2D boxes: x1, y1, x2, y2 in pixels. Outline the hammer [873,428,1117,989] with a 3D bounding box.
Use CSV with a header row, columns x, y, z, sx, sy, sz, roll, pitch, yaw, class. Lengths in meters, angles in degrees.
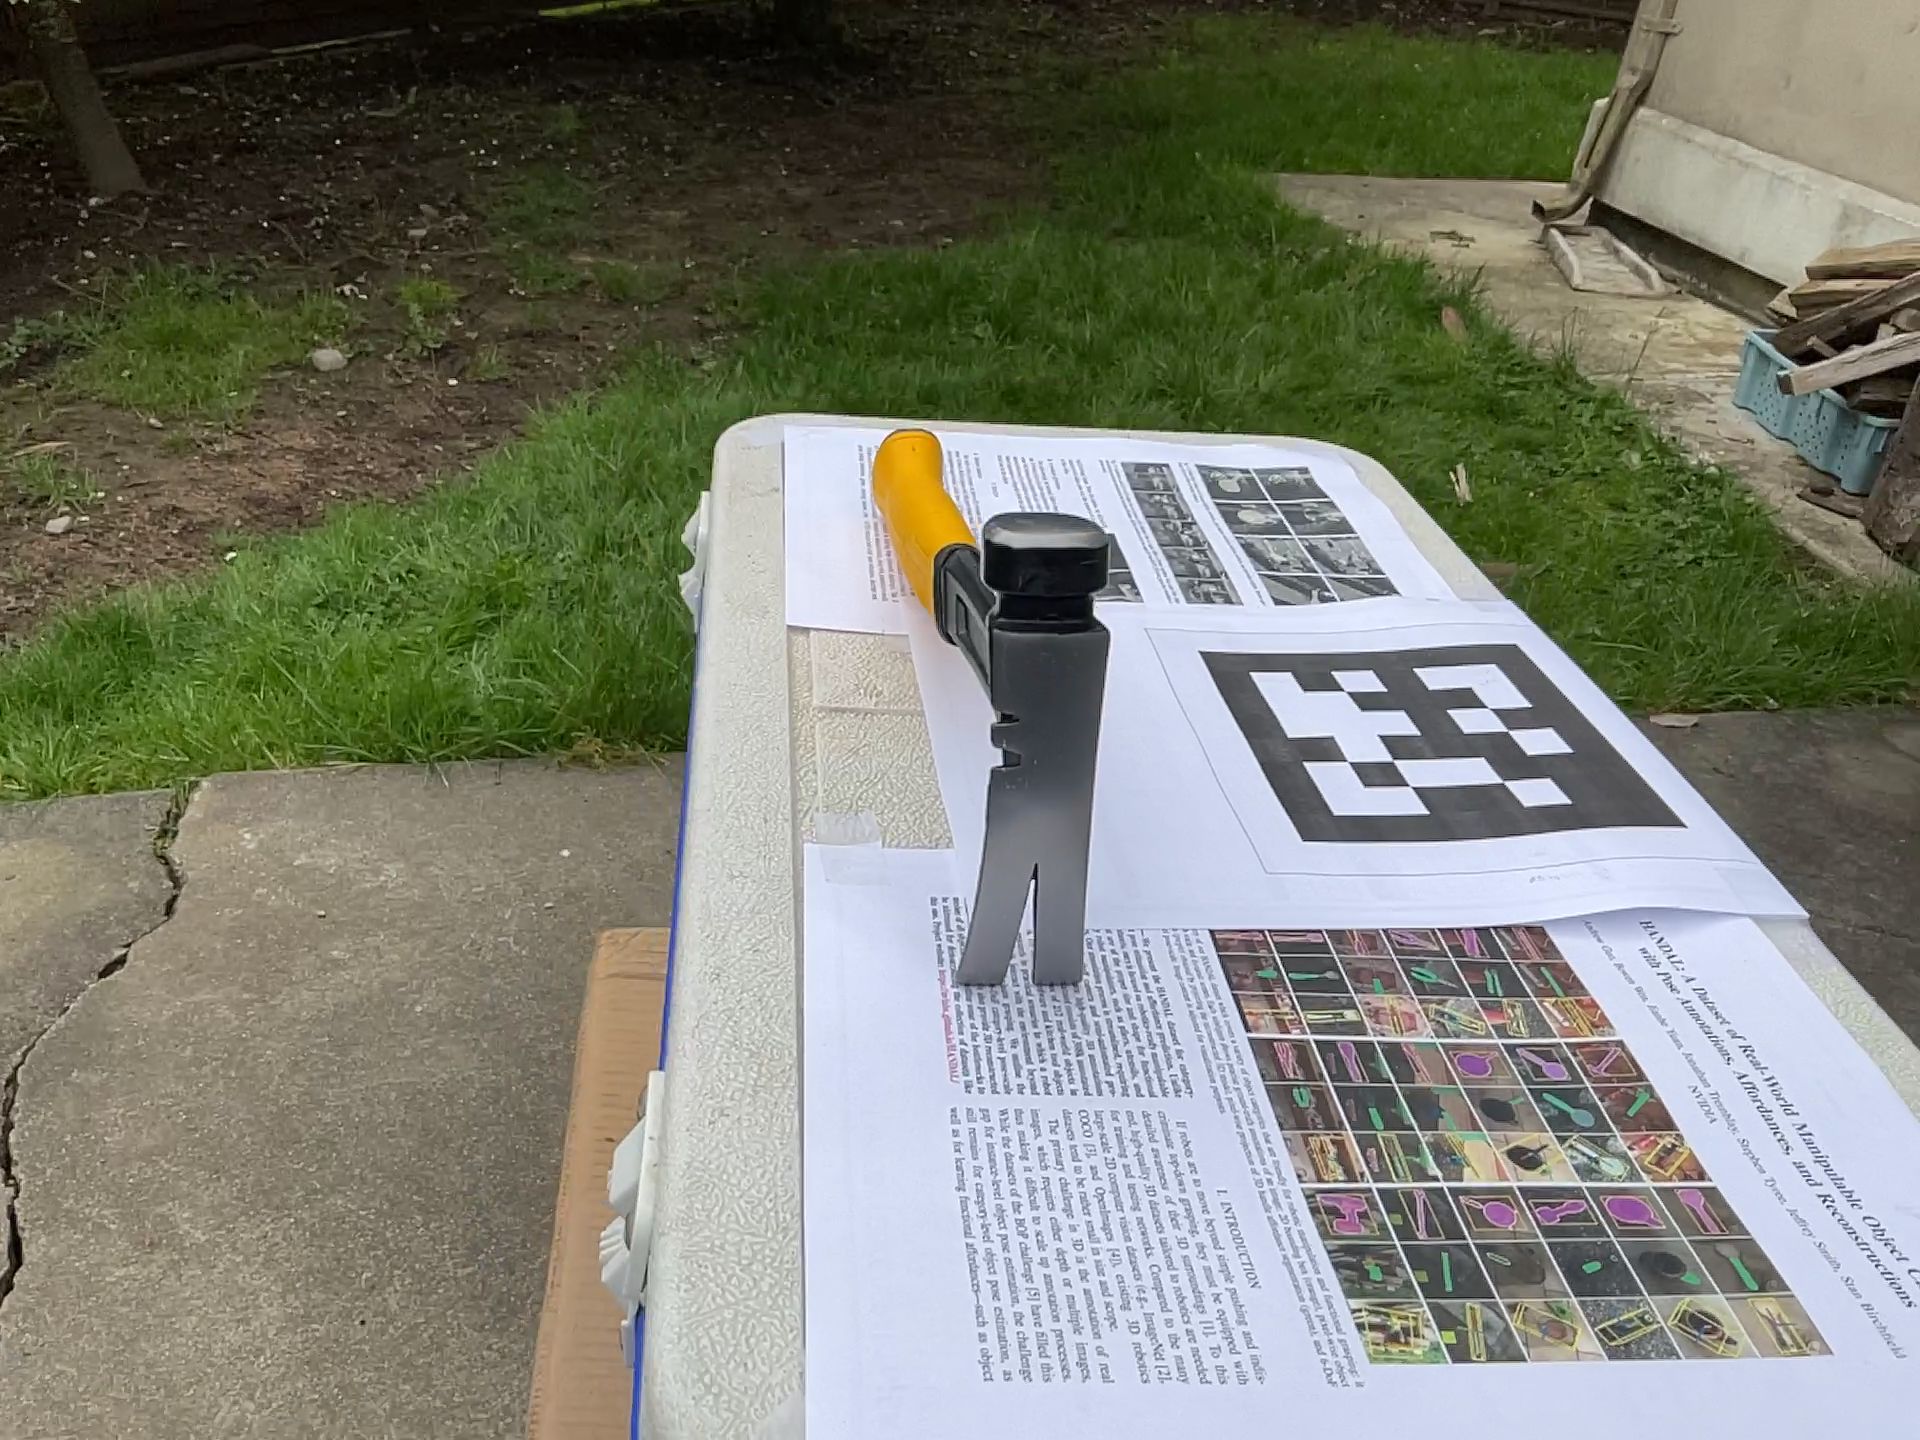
x,y,z,sx,sy,sz,roll,pitch,yaw,class
-0.001,-0.041,0.547,0.034,0.127,0.337,0,20,-8,hammer
